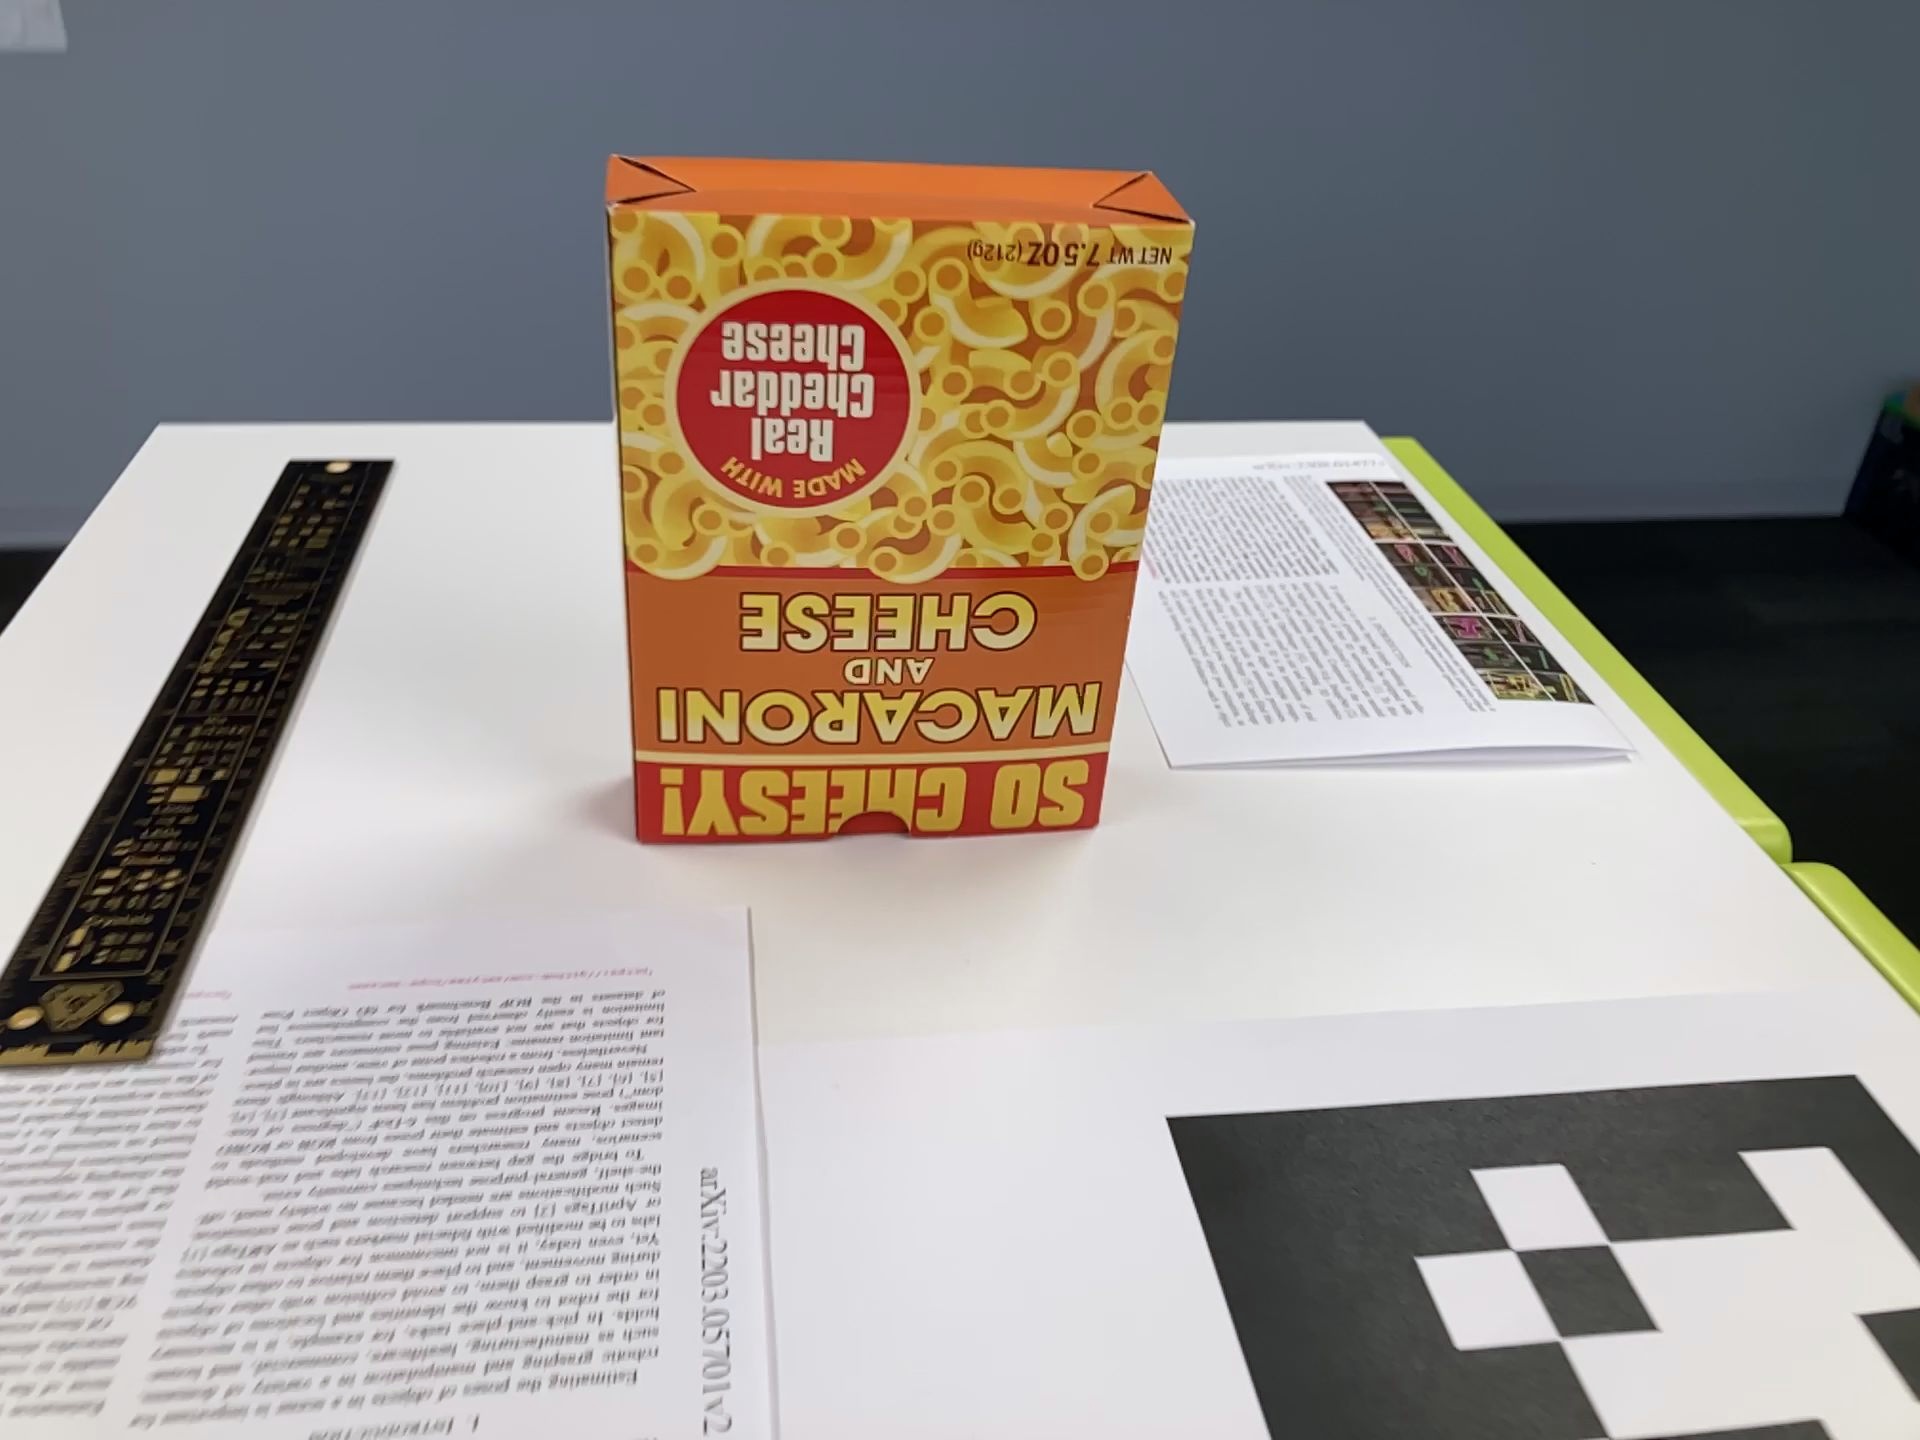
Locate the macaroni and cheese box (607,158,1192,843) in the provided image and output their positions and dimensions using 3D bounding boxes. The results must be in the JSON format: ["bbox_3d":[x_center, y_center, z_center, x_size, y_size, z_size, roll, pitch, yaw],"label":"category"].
[{"bbox_3d":[-0.020,-0.045,0.388,0.124,0.166,0.040,-1,35,-9],"label":"macaroni and cheese box"}]
